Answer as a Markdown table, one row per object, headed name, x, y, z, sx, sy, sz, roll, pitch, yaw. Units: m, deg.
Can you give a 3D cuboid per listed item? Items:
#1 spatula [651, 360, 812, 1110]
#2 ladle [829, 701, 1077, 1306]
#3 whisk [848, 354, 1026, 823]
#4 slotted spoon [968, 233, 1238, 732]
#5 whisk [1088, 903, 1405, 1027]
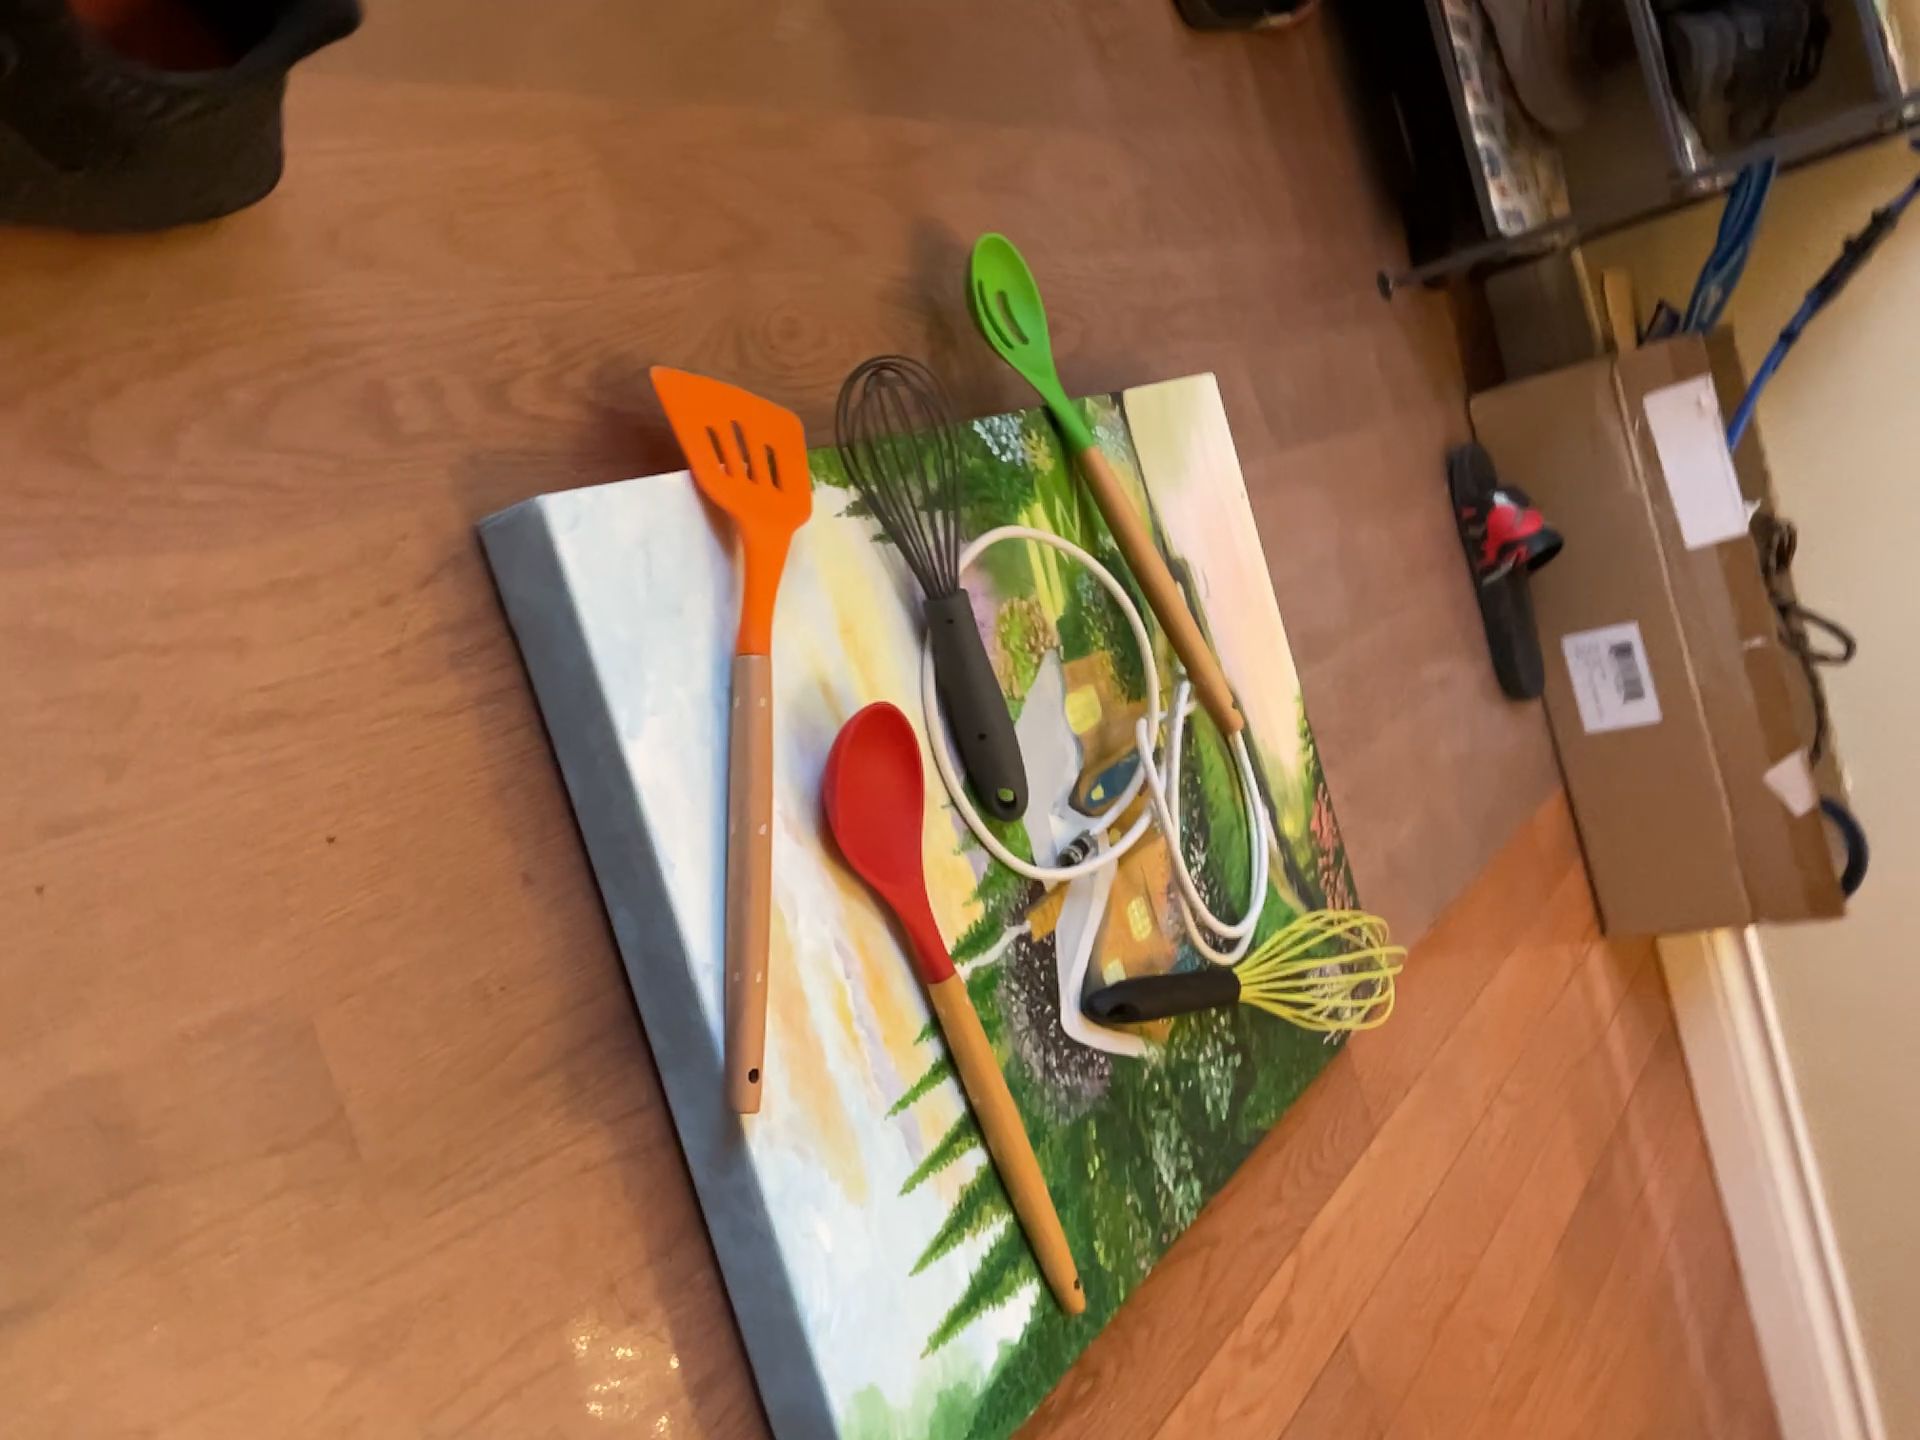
| name | x | y | z | sx | sy | sz | roll | pitch | yaw |
| --- | --- | --- | --- | --- | --- | --- | --- | --- | --- |
| spatula | -0.093 | -0.002 | 0.669 | 0.080 | 0.041 | 0.323 | 11 | 72 | -40 |
| ladle | 0.002 | 0.140 | 0.739 | 0.069 | 0.031 | 0.315 | -37 | 112 | -50 |
| whisk | -0.005 | -0.059 | 0.773 | 0.055 | 0.055 | 0.239 | -32 | 112 | -42 |
| slotted spoon | 0.082 | -0.133 | 0.917 | 0.070 | 0.031 | 0.314 | -29 | 92 | -53 |
| whisk | 0.174 | 0.155 | 0.948 | 0.311 | 0.067 | 0.080 | 2 | 73 | -47 |
